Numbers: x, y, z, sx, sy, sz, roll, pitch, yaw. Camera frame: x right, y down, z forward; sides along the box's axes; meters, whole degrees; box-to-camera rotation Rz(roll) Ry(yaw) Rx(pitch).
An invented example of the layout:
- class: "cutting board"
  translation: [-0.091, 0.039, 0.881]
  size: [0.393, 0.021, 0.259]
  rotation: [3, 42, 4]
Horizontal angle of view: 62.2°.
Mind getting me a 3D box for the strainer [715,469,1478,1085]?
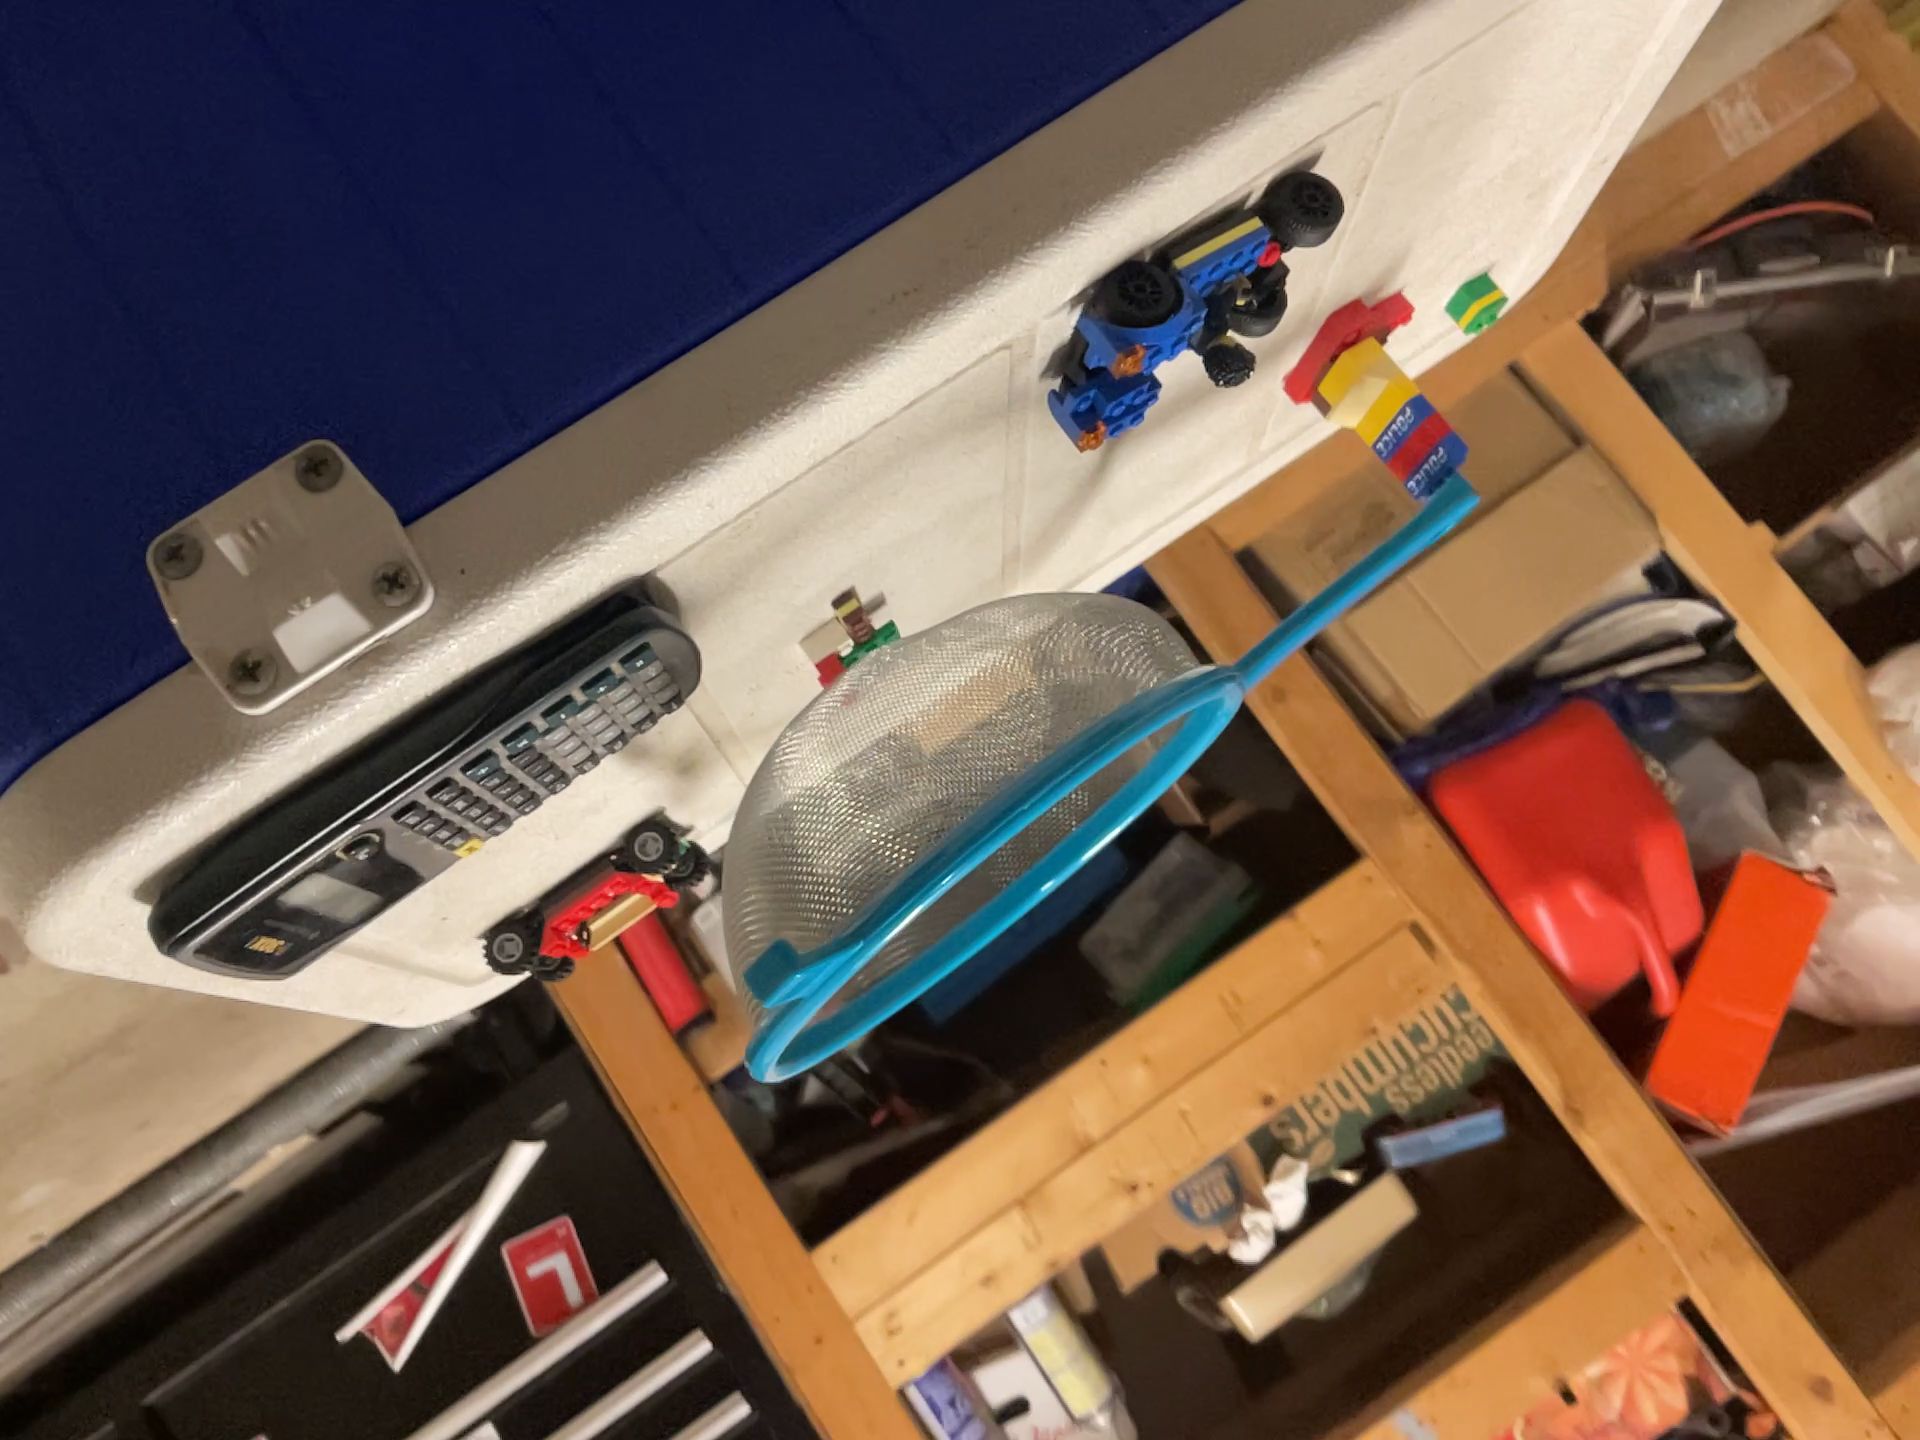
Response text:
- class: "strainer"
  translation: [0.039, -0.015, 0.565]
  size: [0.340, 0.095, 0.210]
  rotation: [-38, 168, -16]
